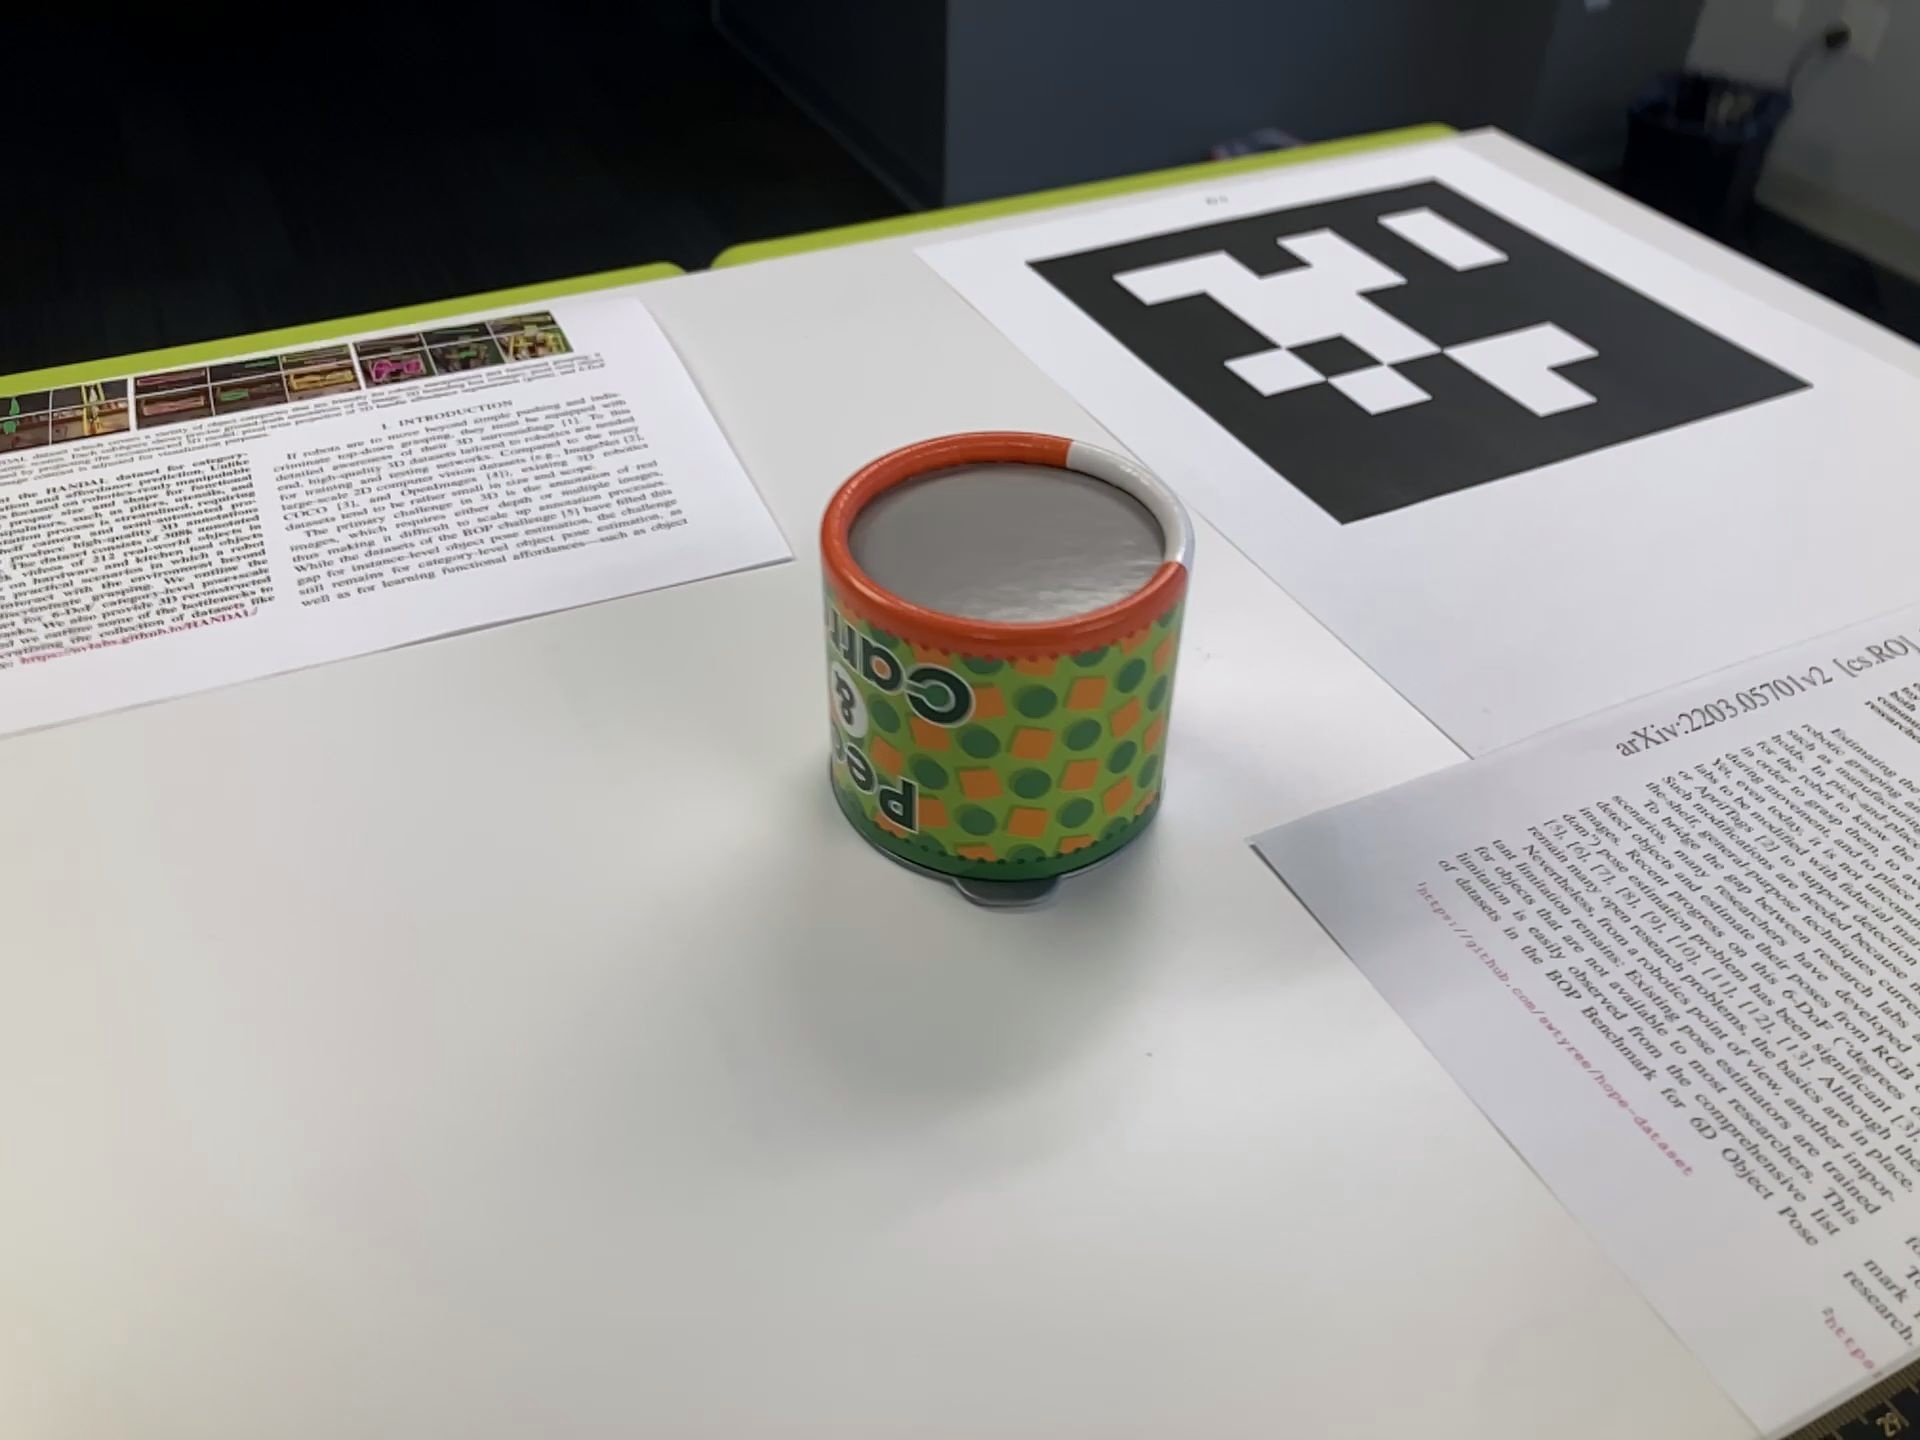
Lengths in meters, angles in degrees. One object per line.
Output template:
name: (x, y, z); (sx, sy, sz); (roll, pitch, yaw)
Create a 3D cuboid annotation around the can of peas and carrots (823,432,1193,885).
can of peas and carrots: (0.006, -0.012, 0.297); (0.071, 0.059, 0.071); (0, 40, 0)
